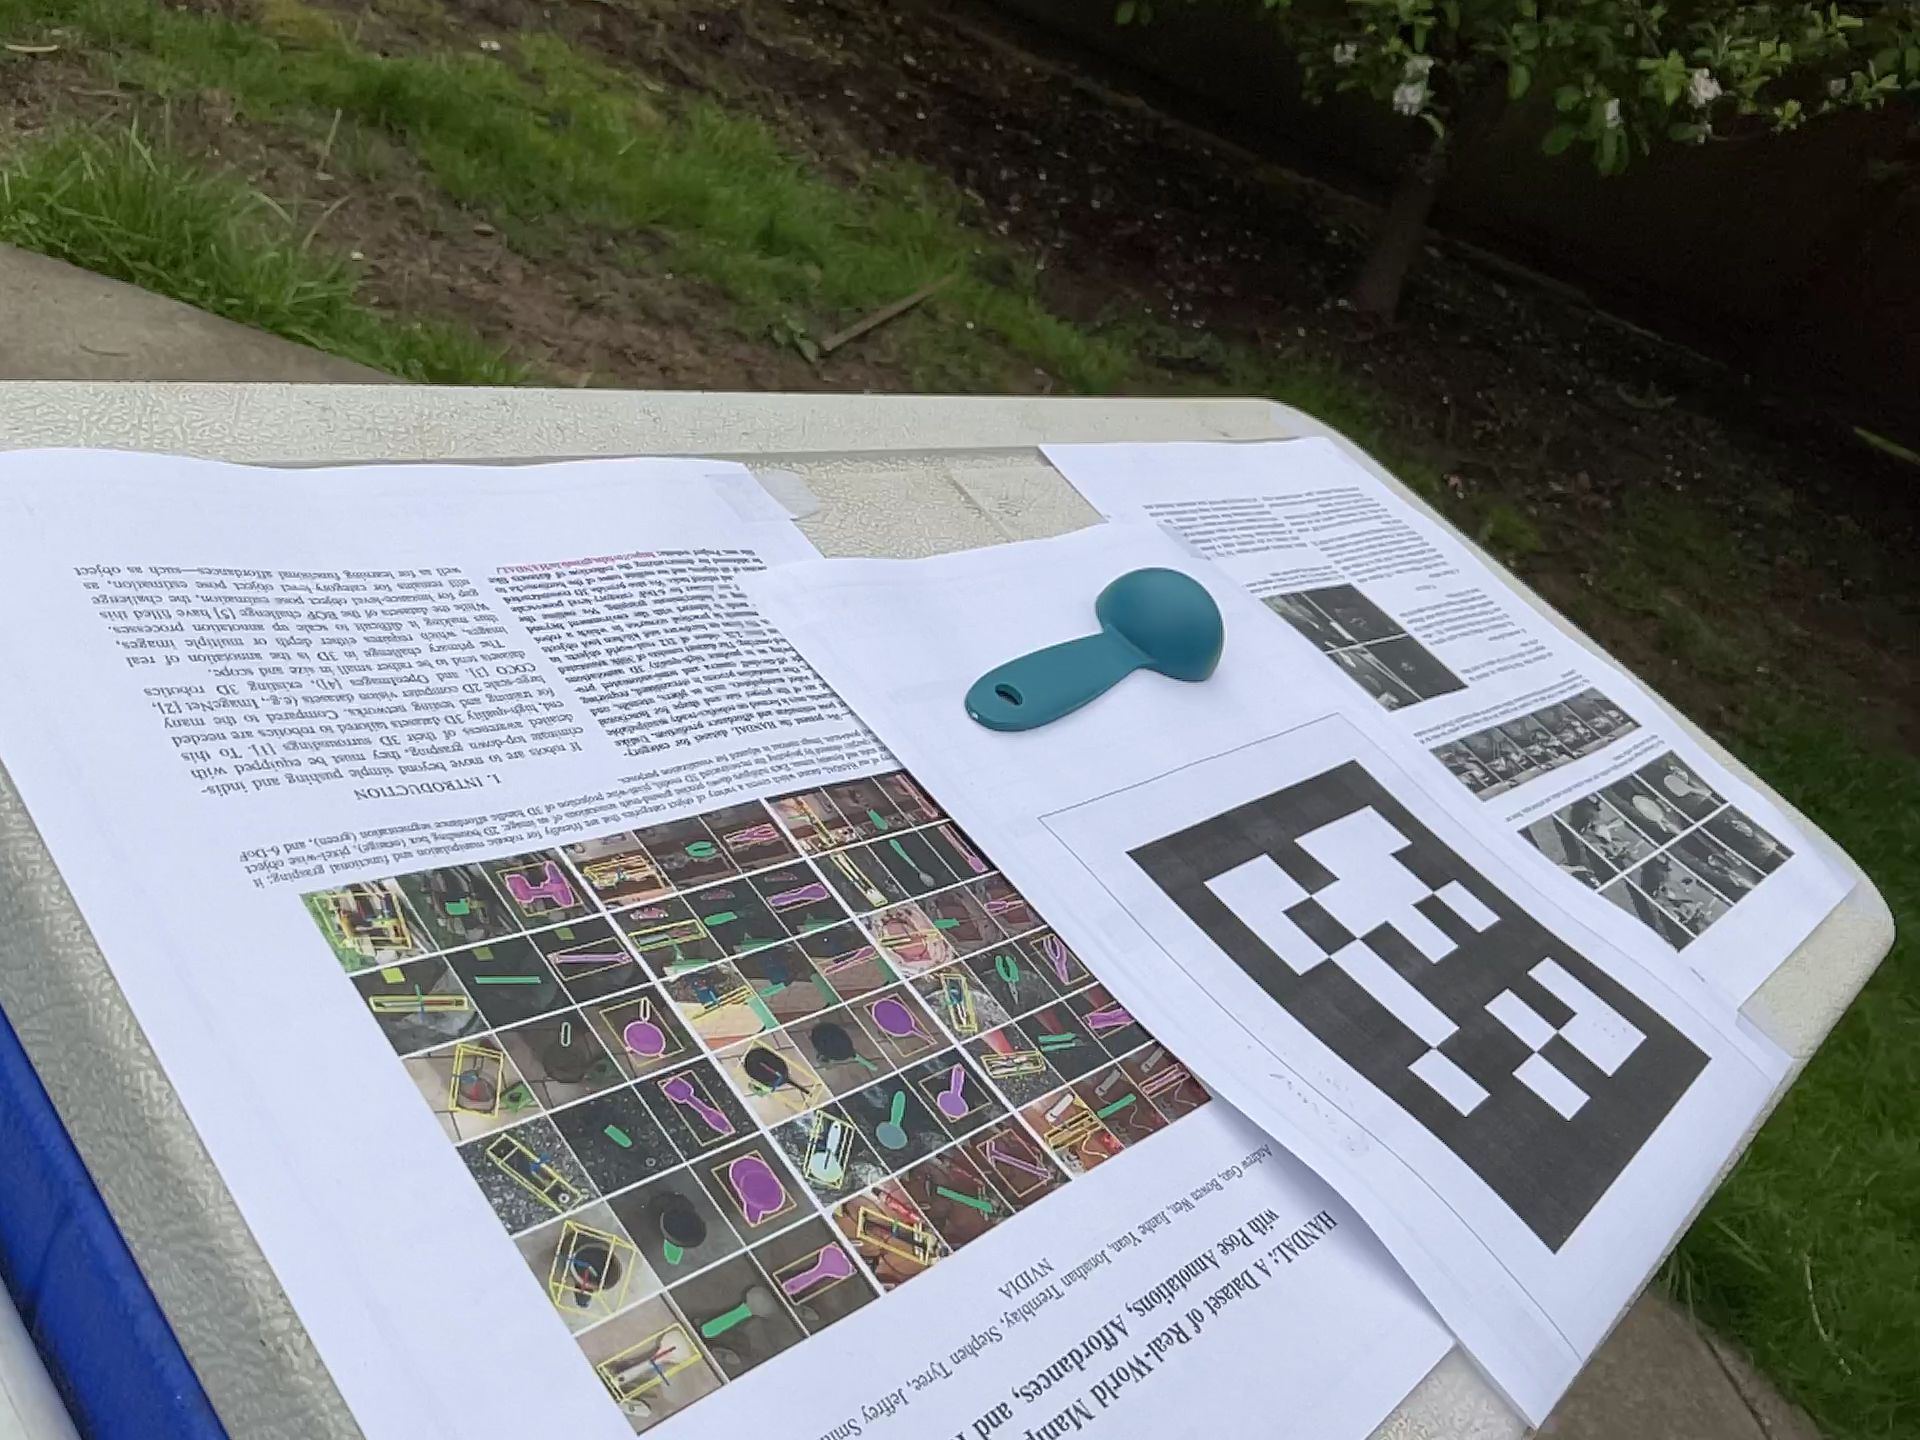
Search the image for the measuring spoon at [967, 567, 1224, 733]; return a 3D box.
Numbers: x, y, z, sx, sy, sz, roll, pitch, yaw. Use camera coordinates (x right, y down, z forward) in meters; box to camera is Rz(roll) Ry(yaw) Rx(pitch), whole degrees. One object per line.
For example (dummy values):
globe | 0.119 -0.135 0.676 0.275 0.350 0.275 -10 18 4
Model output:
measuring spoon | 0.042 -0.022 0.452 0.042 0.021 0.128 46 34 13
